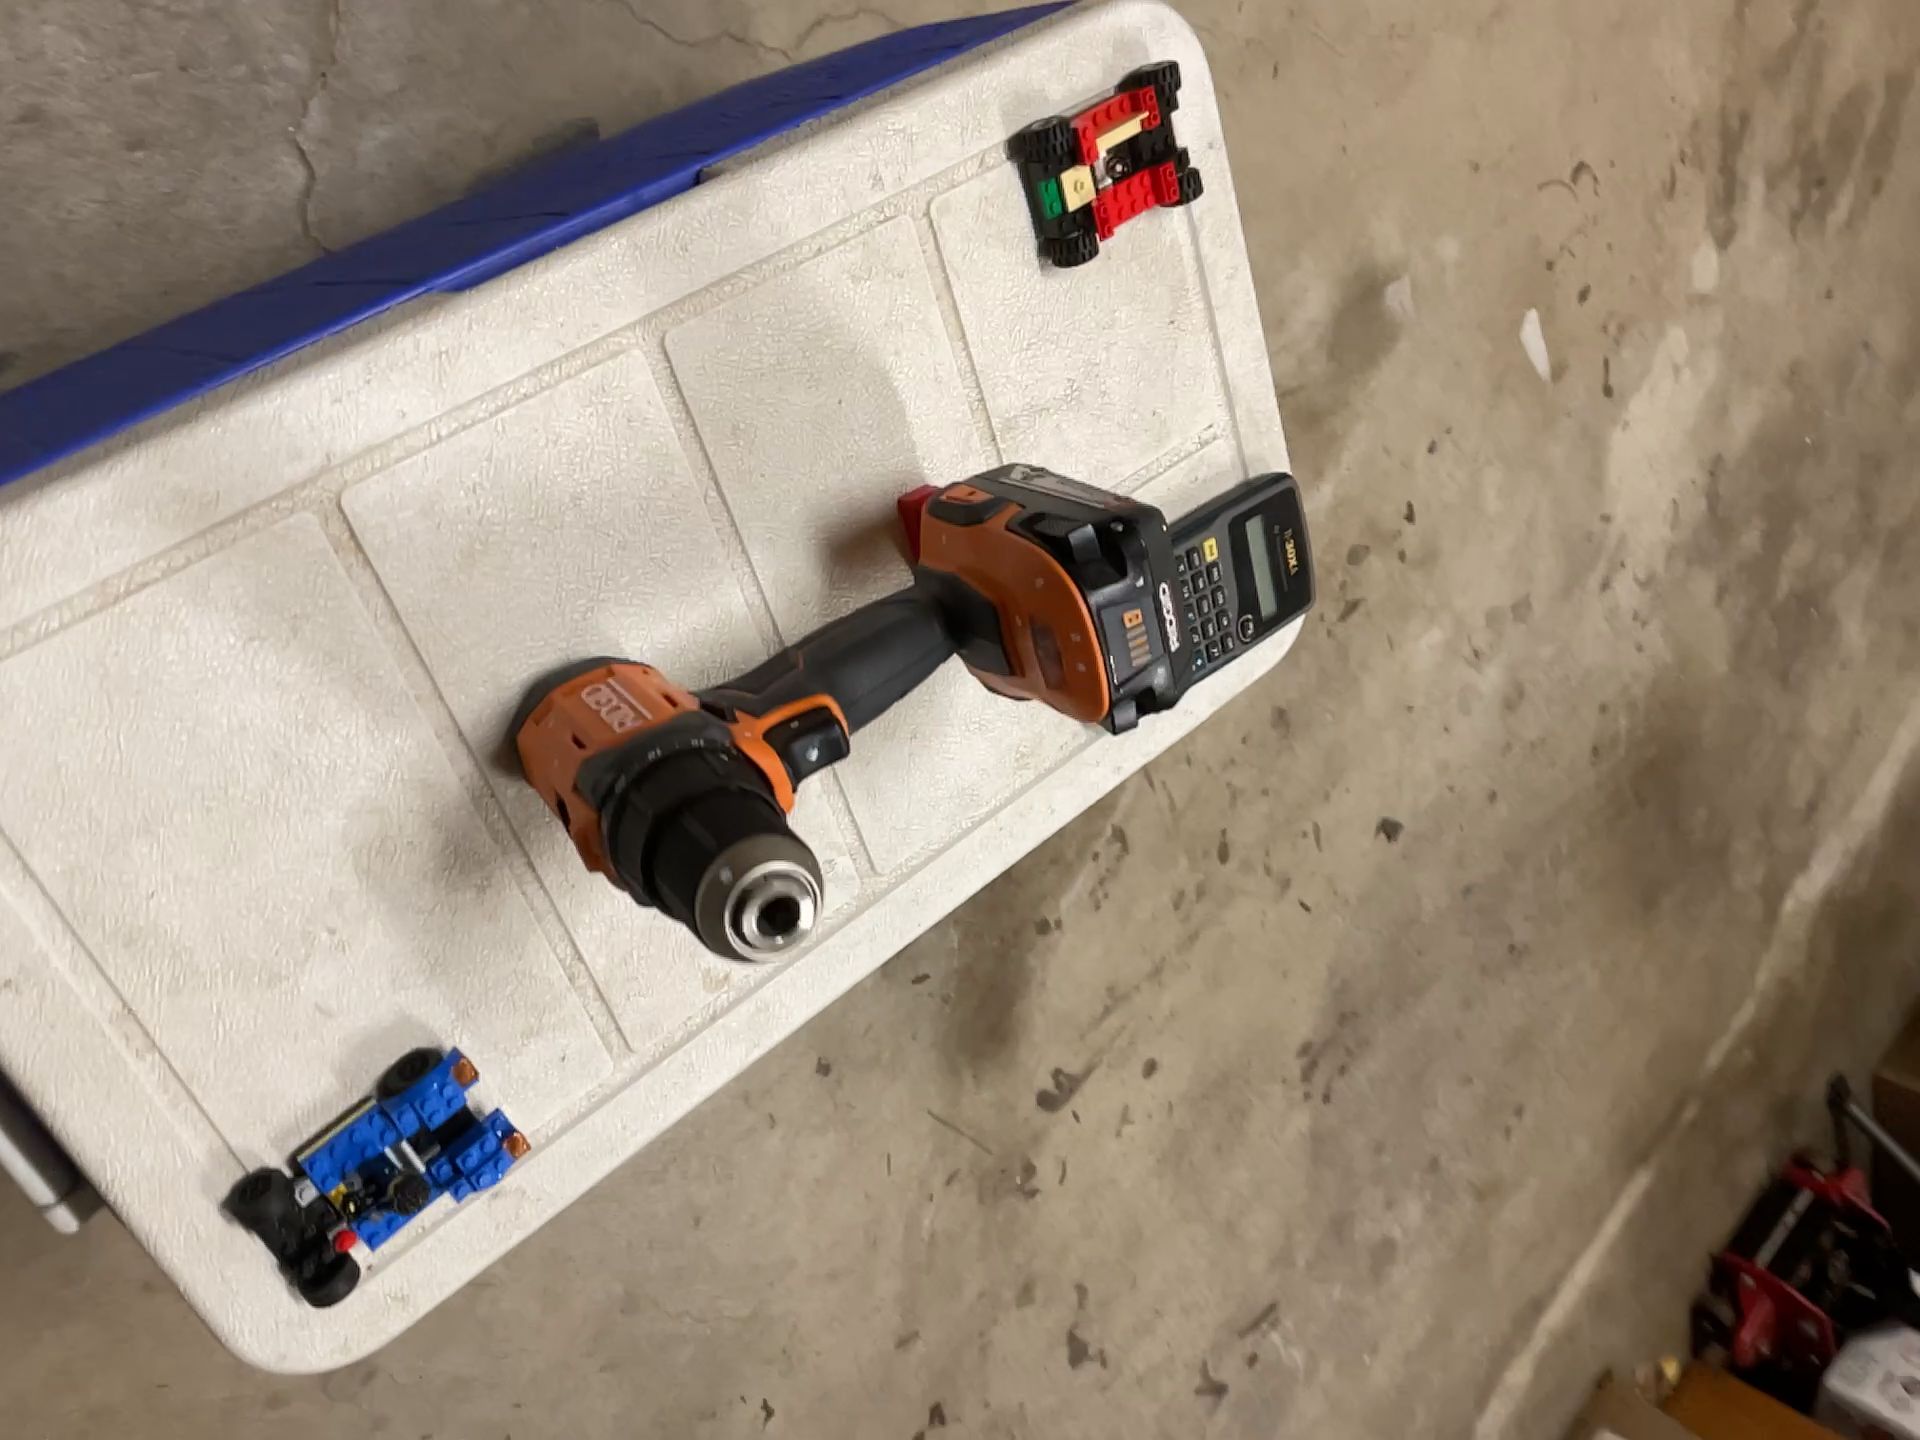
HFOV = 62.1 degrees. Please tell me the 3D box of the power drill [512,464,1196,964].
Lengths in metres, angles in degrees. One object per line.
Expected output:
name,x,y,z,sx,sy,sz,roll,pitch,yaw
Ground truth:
power drill,-0.028,-0.005,0.552,0.226,0.185,0.084,-26,118,-19
